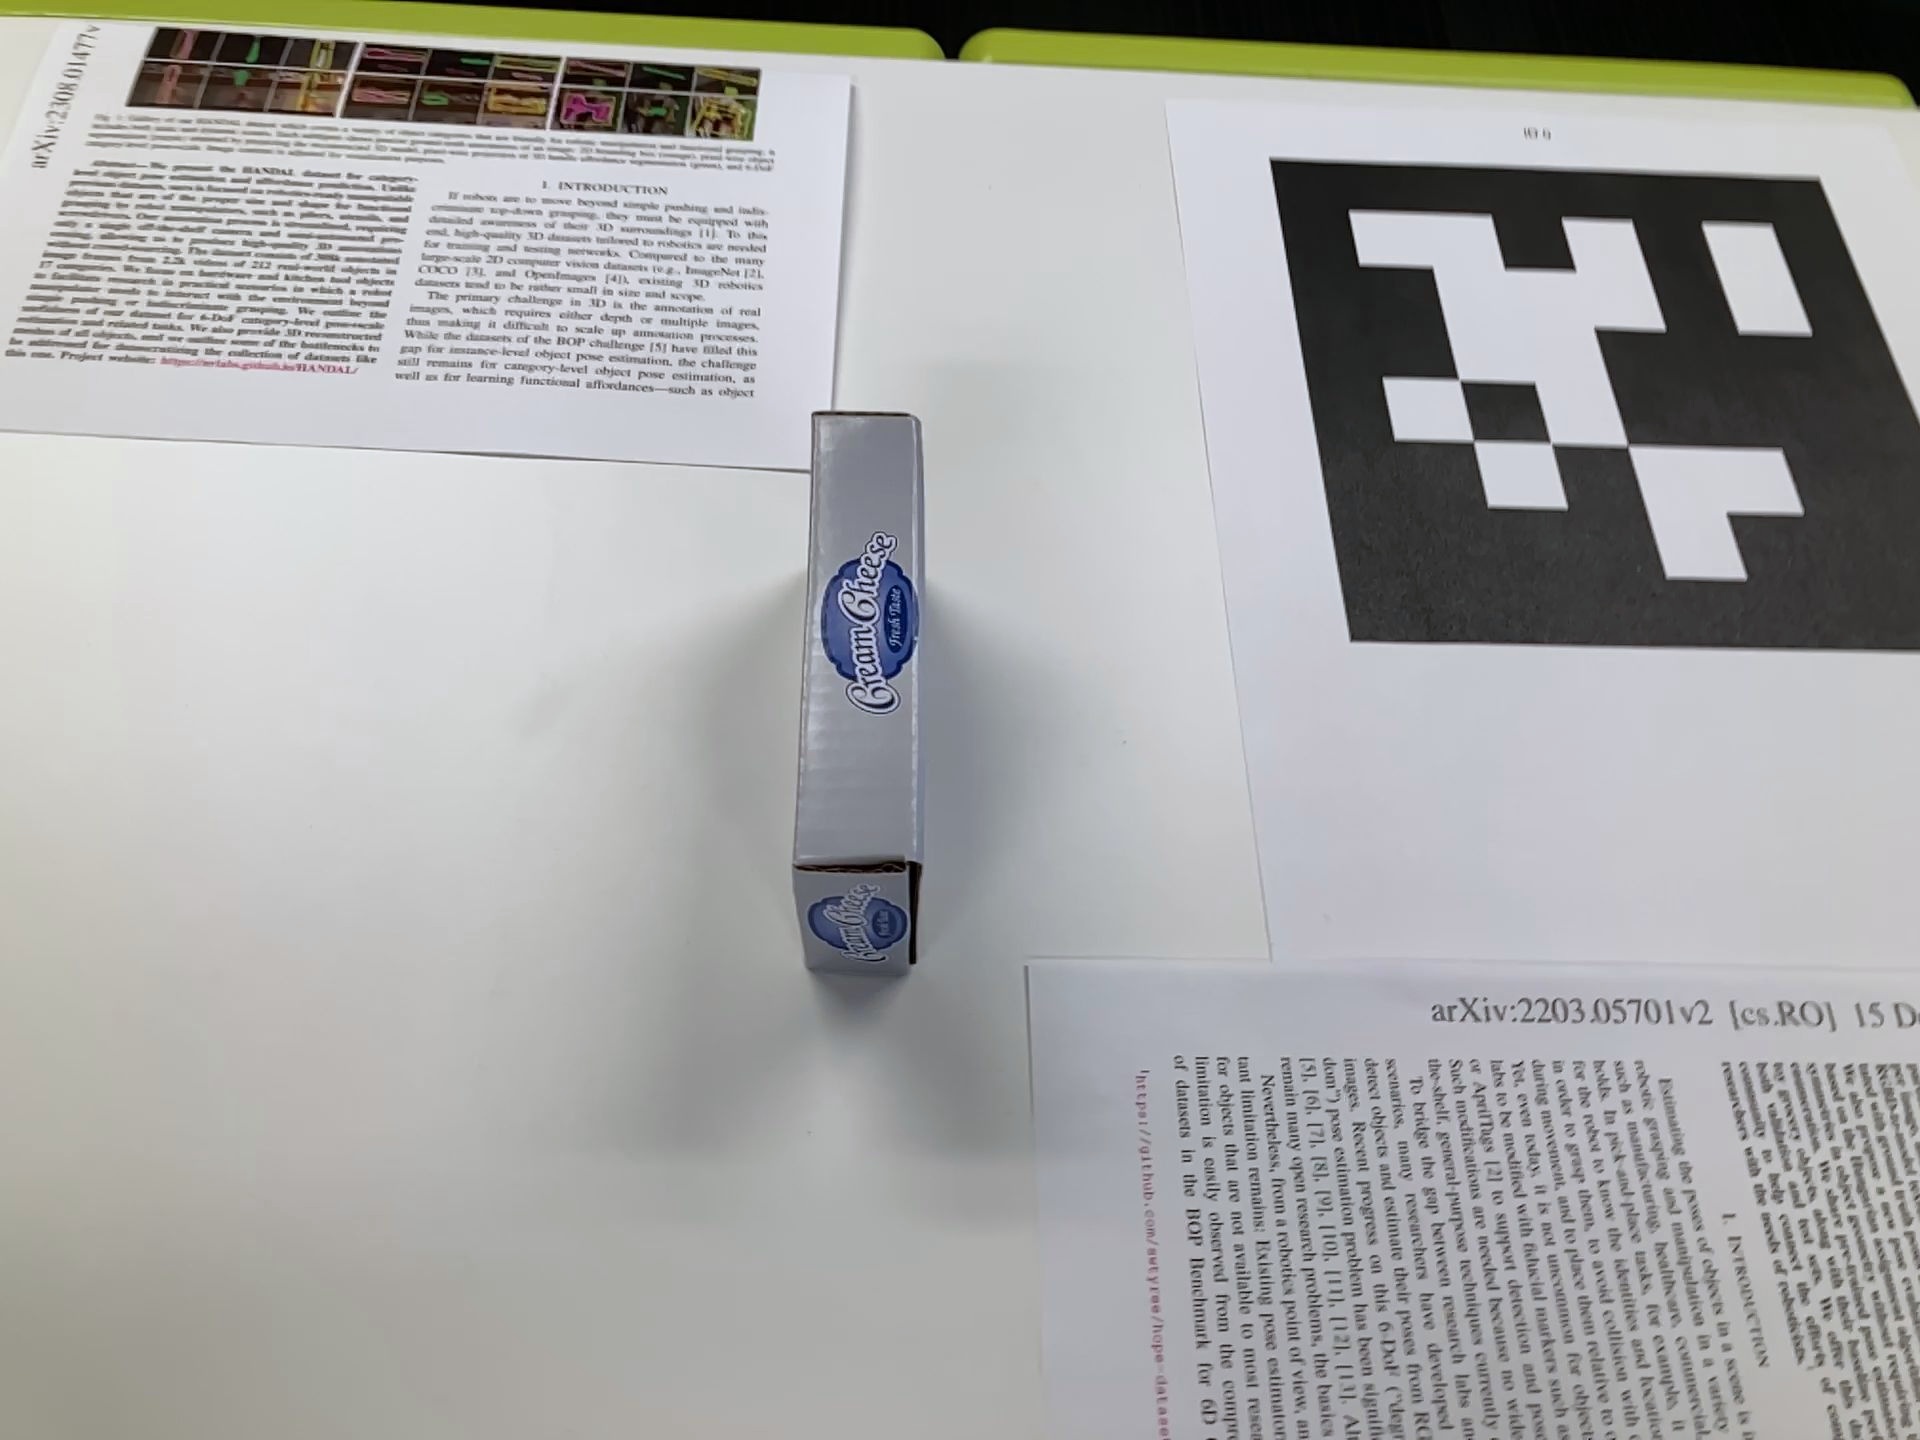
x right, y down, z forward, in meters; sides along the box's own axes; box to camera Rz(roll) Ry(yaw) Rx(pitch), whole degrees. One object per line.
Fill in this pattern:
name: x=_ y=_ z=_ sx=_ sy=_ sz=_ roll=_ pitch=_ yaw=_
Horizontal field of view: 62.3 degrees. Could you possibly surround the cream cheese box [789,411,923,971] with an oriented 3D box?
cream cheese box: x=-0.020 y=-0.006 z=0.325 sx=0.024 sy=0.053 sz=0.104 roll=0 pitch=60 yaw=-2
